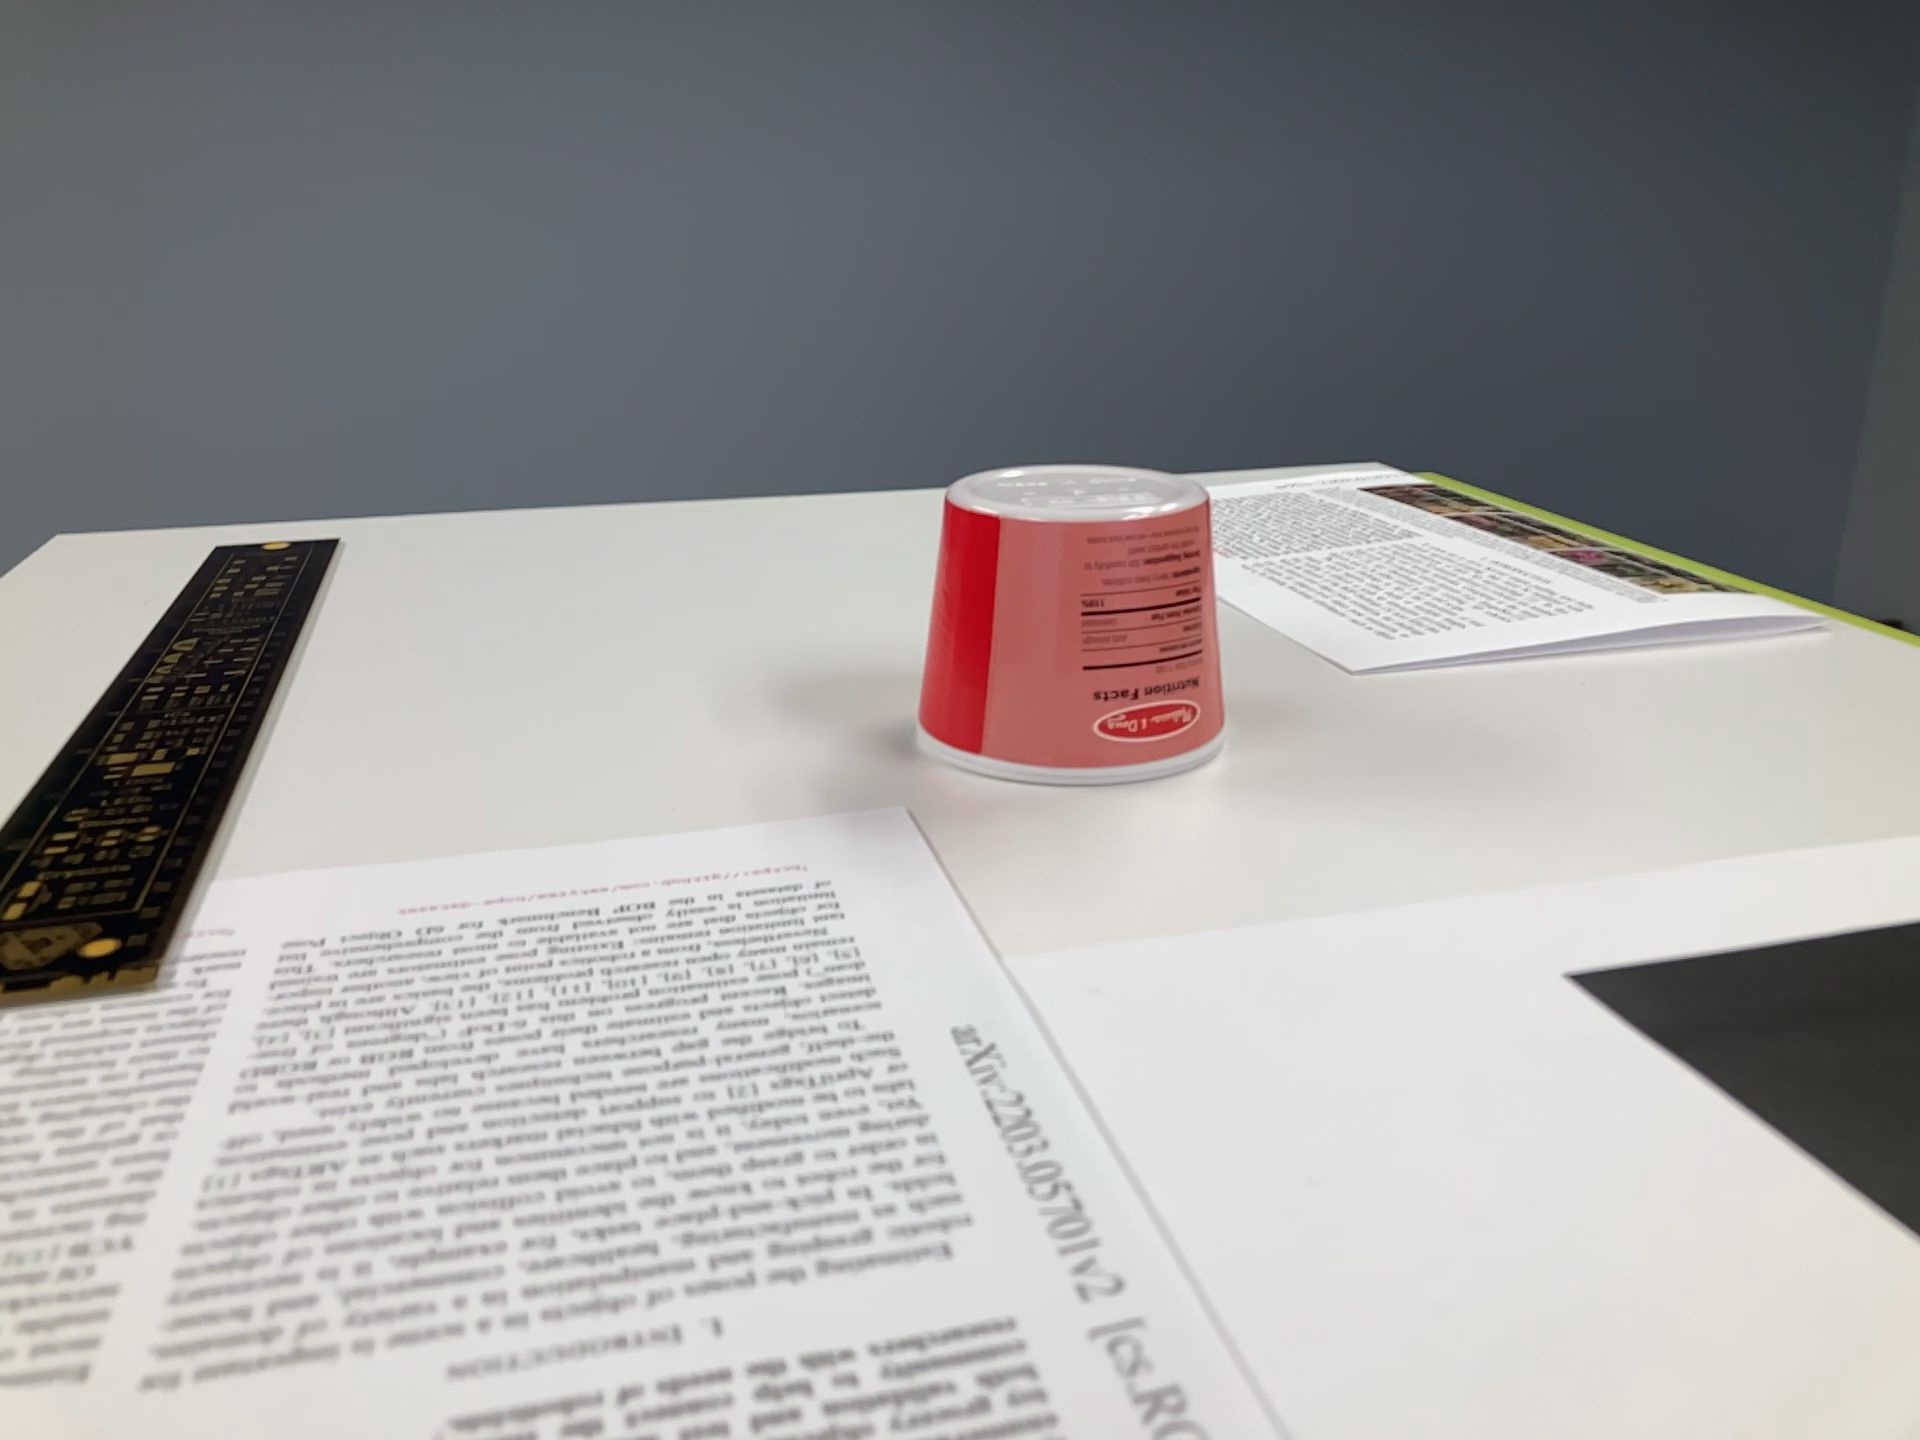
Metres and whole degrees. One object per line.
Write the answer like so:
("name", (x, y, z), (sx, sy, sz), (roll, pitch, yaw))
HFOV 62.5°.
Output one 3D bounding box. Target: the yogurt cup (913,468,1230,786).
("yogurt cup", (0.024, -0.022, 0.335), (0.072, 0.054, 0.072), (1, 19, 0))
